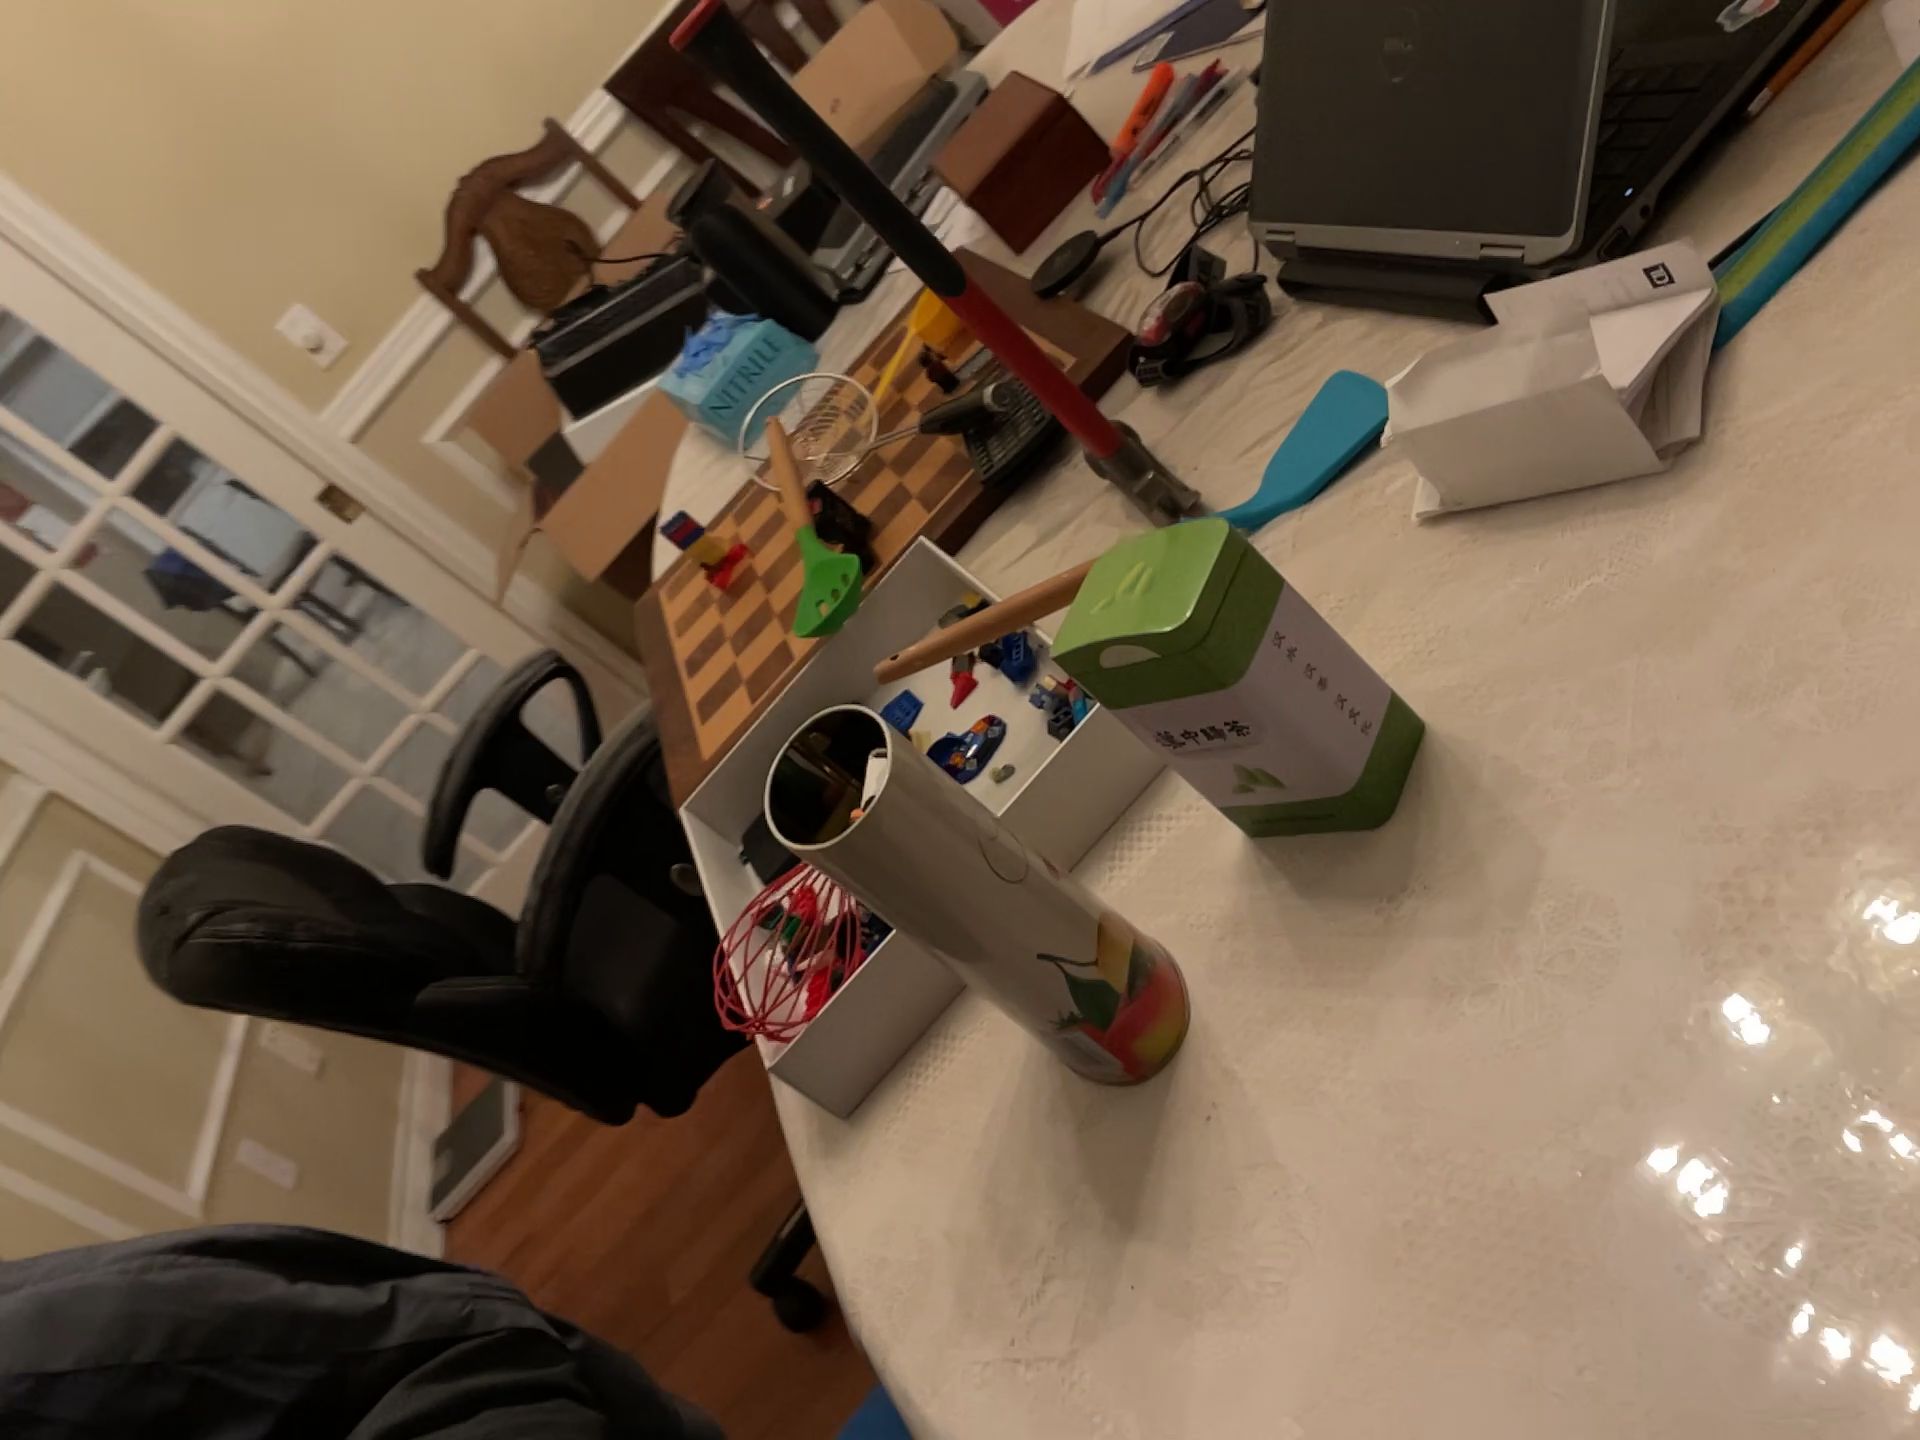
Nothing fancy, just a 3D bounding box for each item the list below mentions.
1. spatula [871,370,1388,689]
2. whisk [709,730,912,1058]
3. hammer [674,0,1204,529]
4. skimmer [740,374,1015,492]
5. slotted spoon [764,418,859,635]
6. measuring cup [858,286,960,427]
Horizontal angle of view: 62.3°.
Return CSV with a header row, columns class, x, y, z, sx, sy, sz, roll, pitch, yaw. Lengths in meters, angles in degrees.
class,x,y,z,sx,sy,sz,roll,pitch,yaw
spatula,0.090,-0.099,0.885,0.317,0.044,0.082,-26,30,2
whisk,-0.071,0.084,0.909,0.073,0.073,0.296,-15,25,22
hammer,-0.006,-0.253,0.914,0.038,0.385,0.143,-45,26,9
skimmer,-0.073,-0.248,1.280,0.127,0.090,0.364,-55,22,-15
slotted spoon,-0.120,-0.156,1.204,0.070,0.031,0.314,-44,36,17
measuring cup,-0.043,-0.328,1.437,0.156,0.029,0.062,-58,27,12
